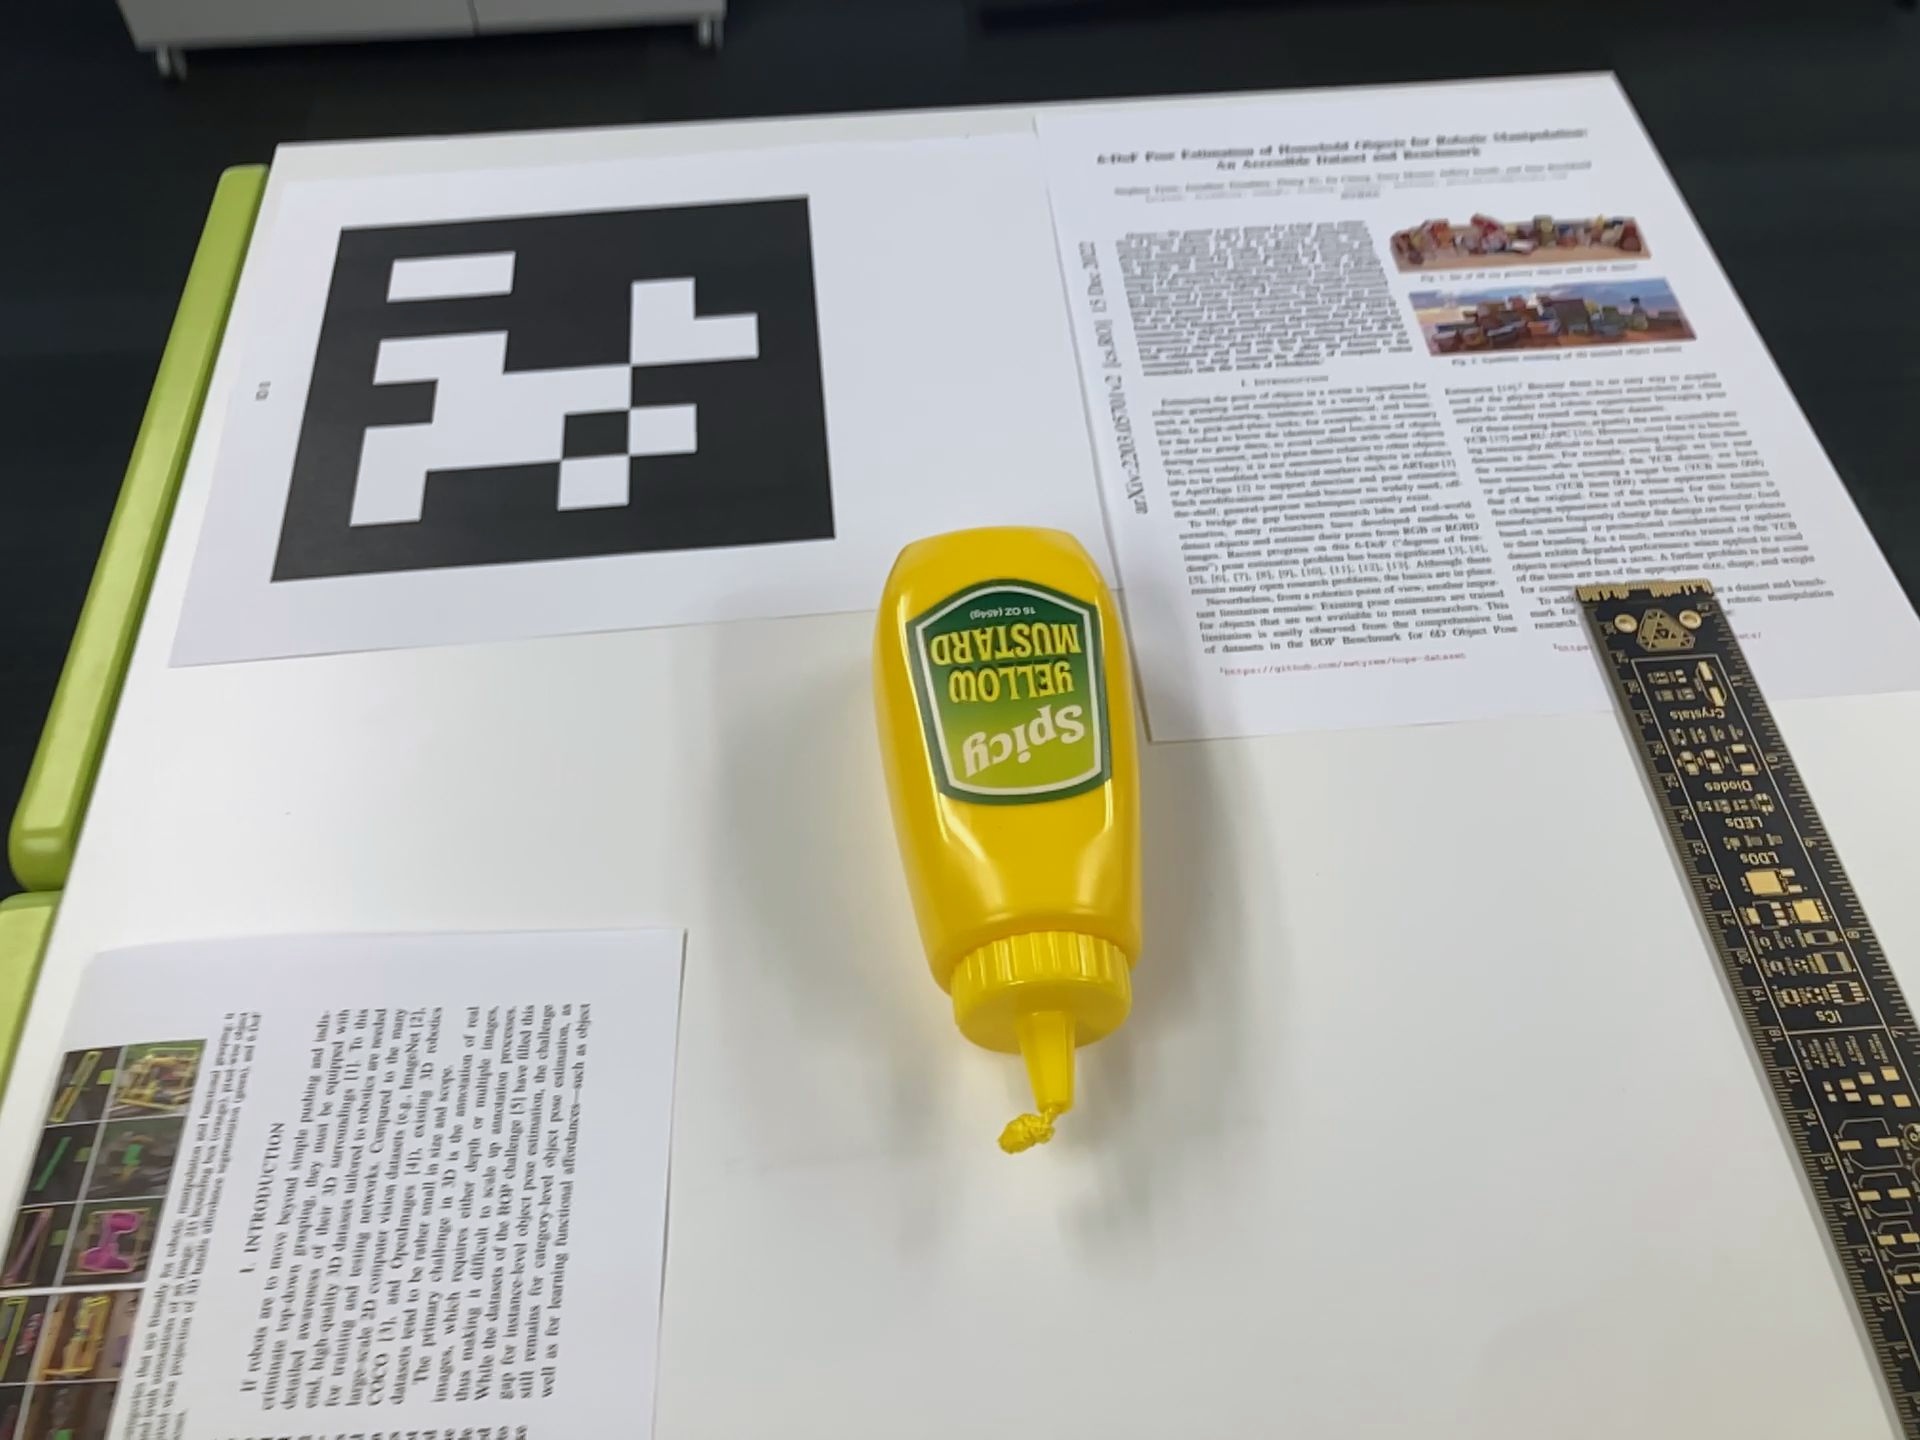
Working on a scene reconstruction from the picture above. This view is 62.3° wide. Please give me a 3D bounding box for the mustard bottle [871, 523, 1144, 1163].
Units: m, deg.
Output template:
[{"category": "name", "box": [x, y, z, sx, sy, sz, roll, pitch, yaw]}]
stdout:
[{"category": "mustard bottle", "box": [0.015, 0.025, 0.375, 0.065, 0.049, 0.160, -6, 54, -2]}]
